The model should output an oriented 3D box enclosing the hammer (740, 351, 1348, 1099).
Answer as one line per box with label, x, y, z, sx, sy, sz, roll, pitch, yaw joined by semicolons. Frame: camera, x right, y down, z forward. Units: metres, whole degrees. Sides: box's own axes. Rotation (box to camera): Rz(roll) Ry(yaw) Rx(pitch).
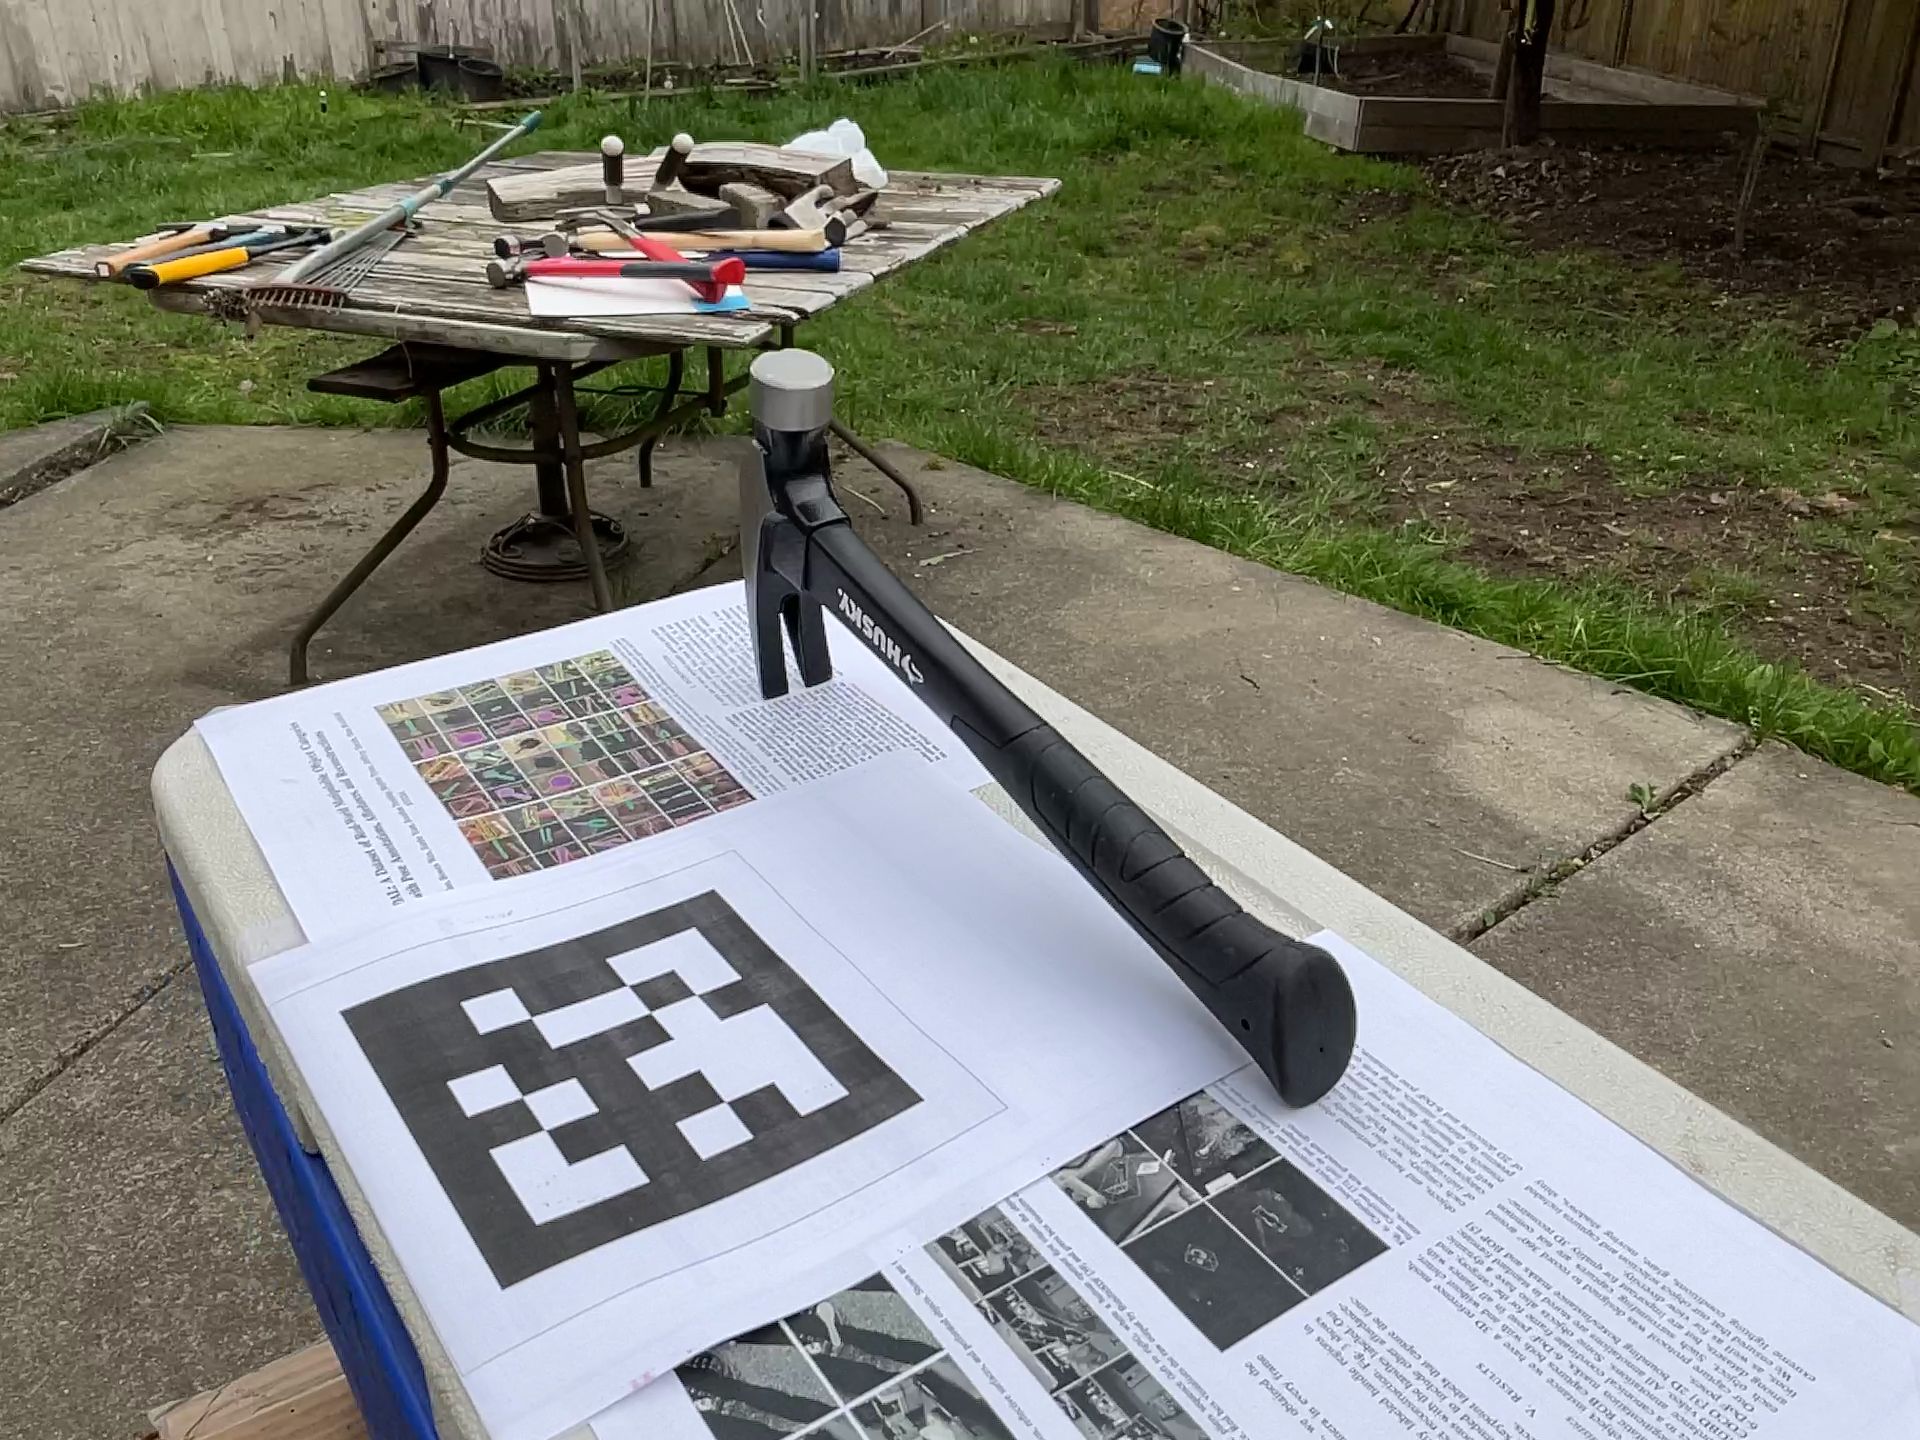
hammer;0.011;0.006;0.565;0.035;0.146;0.335;-19;46;-29
